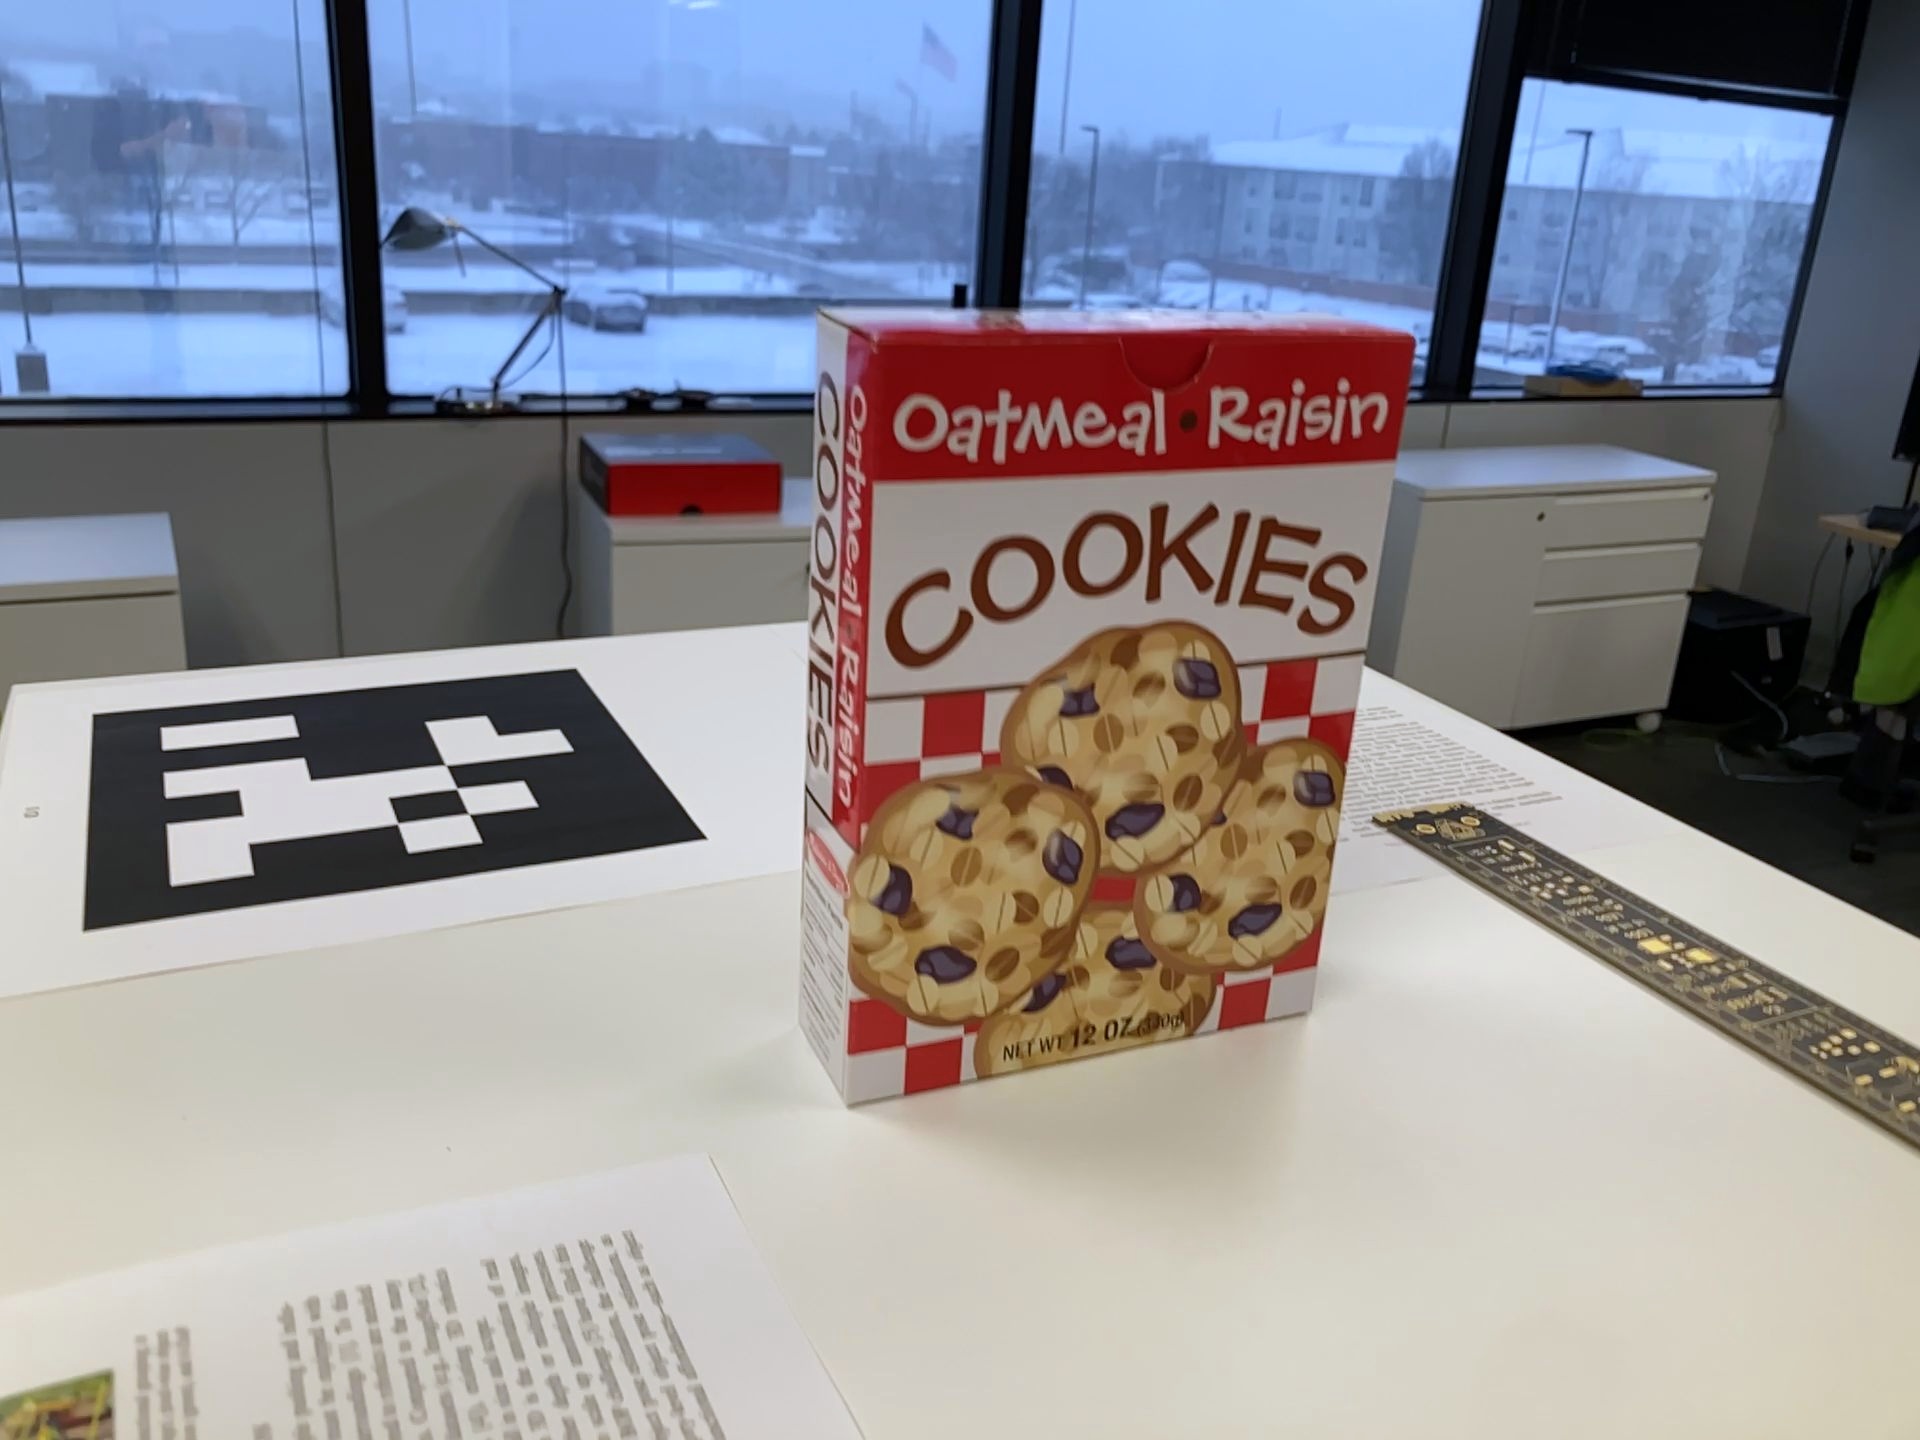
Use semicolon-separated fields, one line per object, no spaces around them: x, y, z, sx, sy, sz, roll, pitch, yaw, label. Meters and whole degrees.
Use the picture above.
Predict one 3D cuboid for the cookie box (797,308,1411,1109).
0.029;-0.005;0.352;0.123;0.167;0.040;-6;22;-23;cookie box
